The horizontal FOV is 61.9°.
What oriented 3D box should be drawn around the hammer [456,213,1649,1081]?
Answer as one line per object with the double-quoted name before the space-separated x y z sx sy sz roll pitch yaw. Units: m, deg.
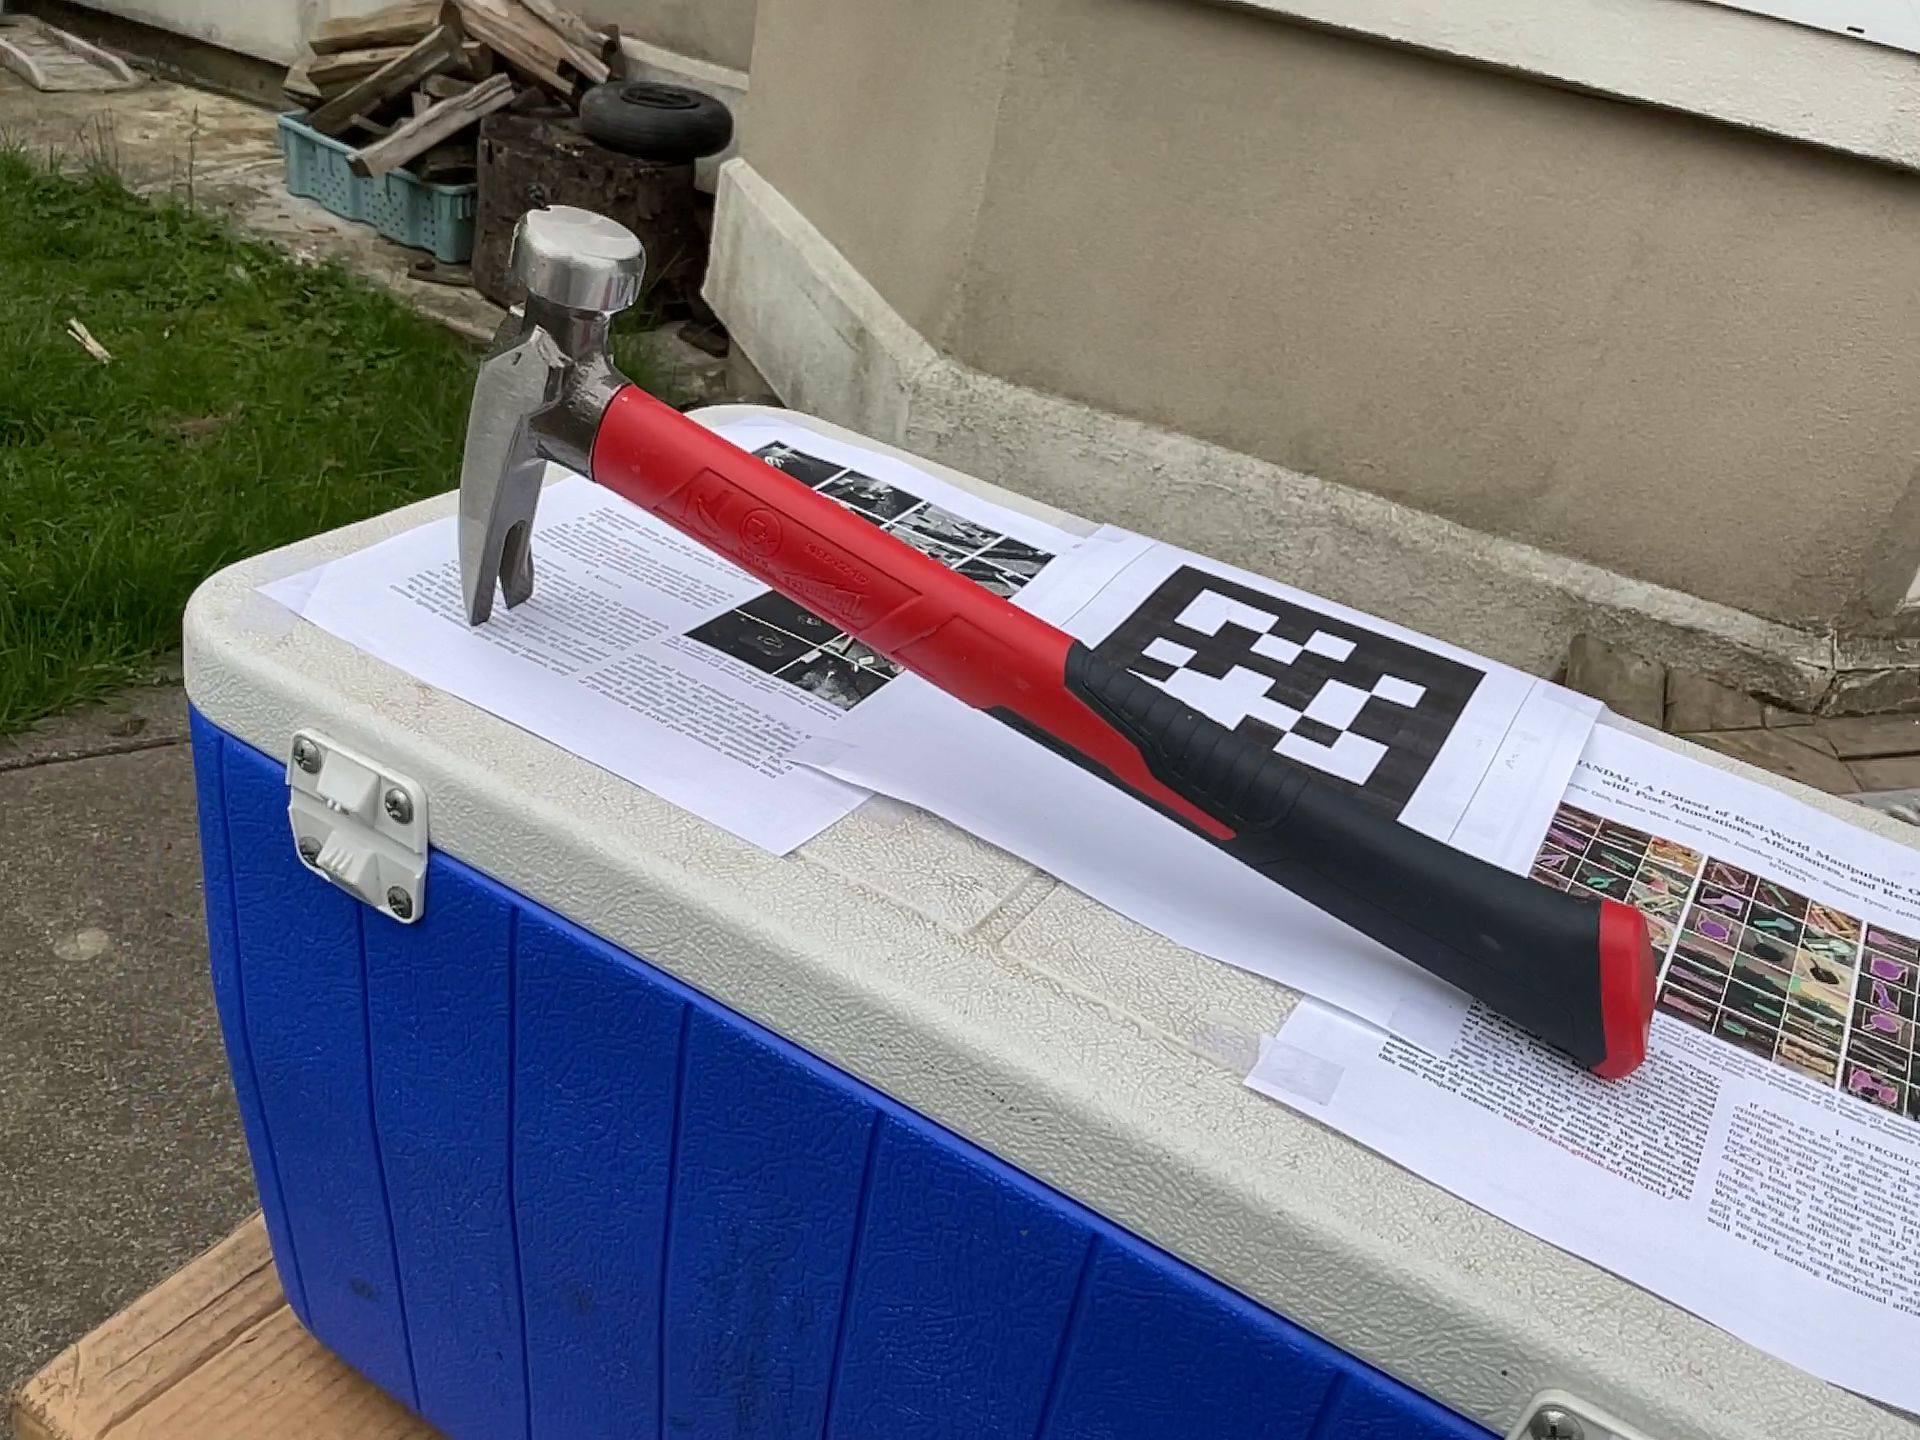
"hammer" 0.013 0.000 0.475 0.386 0.143 0.038 31 35 11
